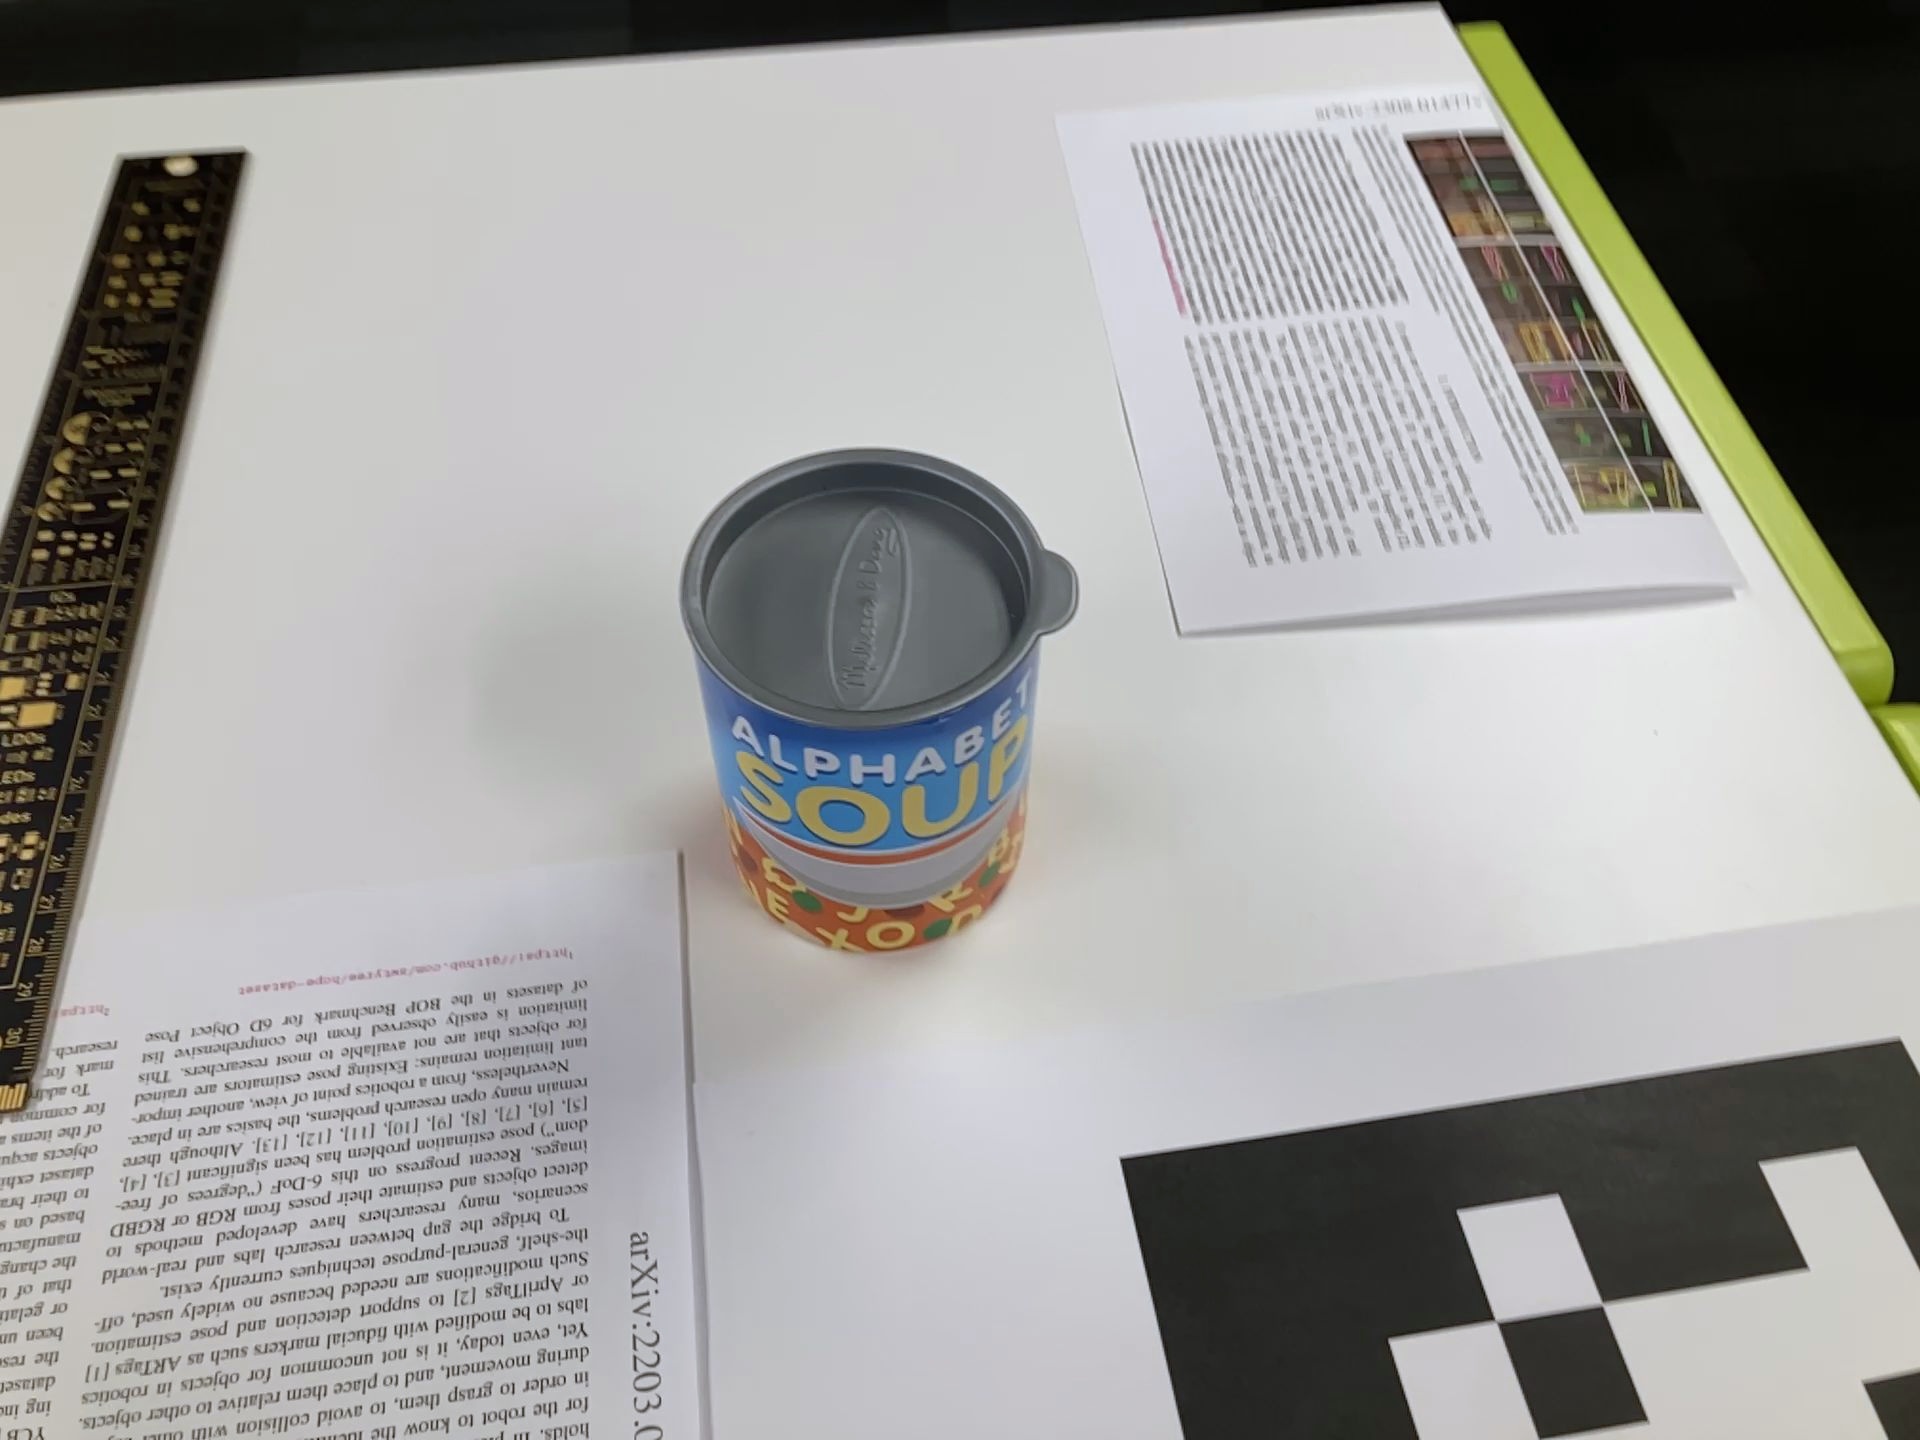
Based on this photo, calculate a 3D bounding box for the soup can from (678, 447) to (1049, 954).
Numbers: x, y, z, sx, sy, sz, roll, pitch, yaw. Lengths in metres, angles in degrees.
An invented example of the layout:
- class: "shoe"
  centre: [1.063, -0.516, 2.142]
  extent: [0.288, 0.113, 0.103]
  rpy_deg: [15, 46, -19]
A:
- class: "soup can"
  centre: [-0.017, 0.001, 0.316]
  extent: [0.071, 0.084, 0.071]
  rpy_deg: [0, 53, 0]
